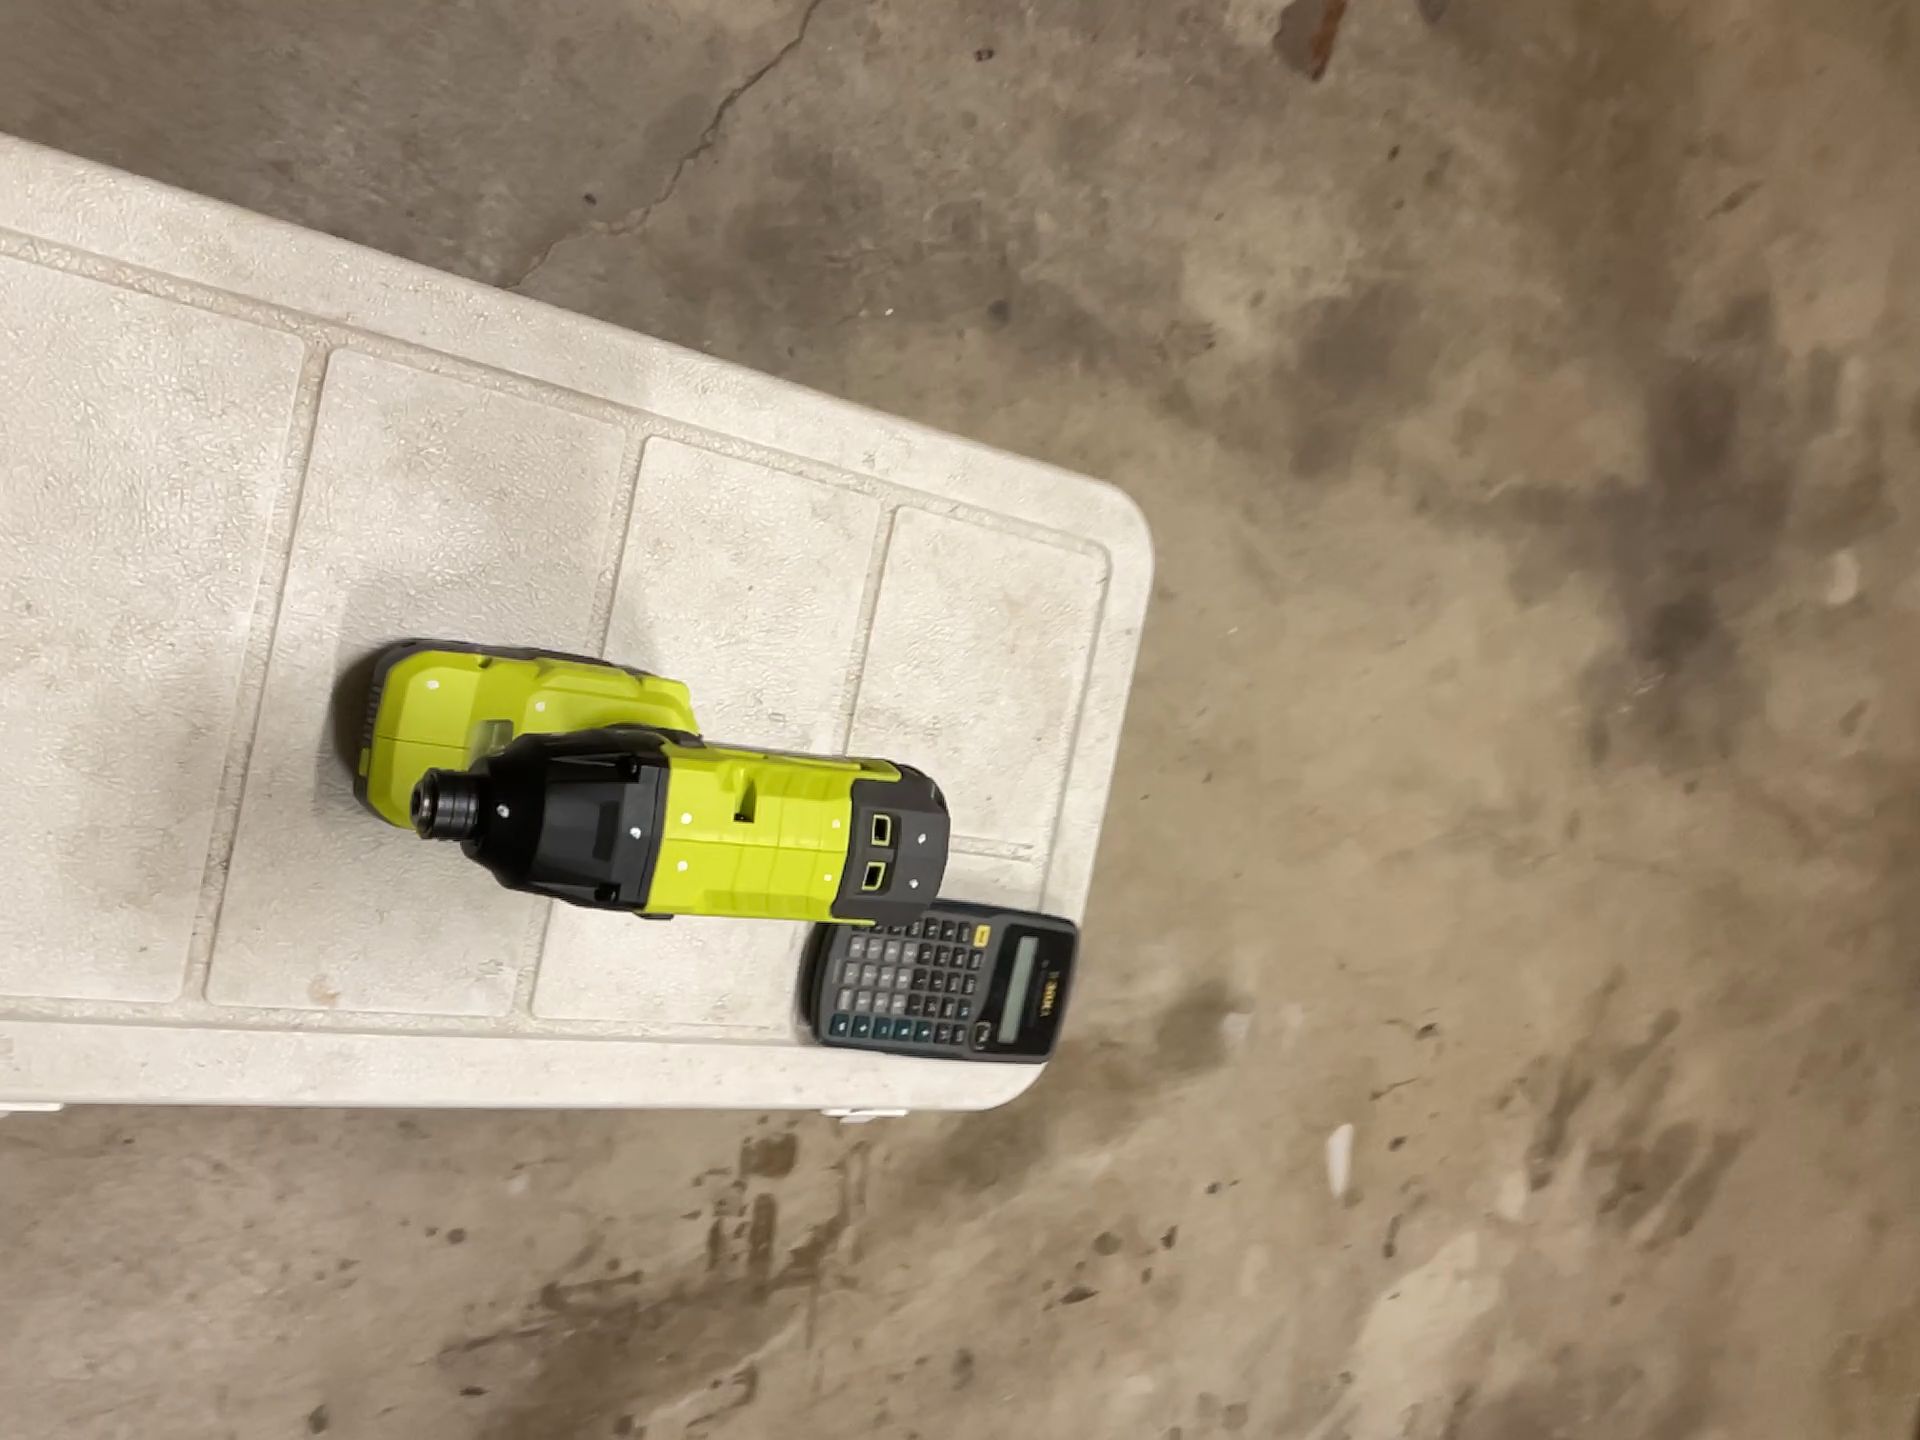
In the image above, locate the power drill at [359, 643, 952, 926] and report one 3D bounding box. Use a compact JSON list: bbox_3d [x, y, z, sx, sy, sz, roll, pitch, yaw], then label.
[{"bbox_3d":[-0.132,0.023,0.581,0.171,0.223,0.080,8,92,-34],"label":"power drill"}]
